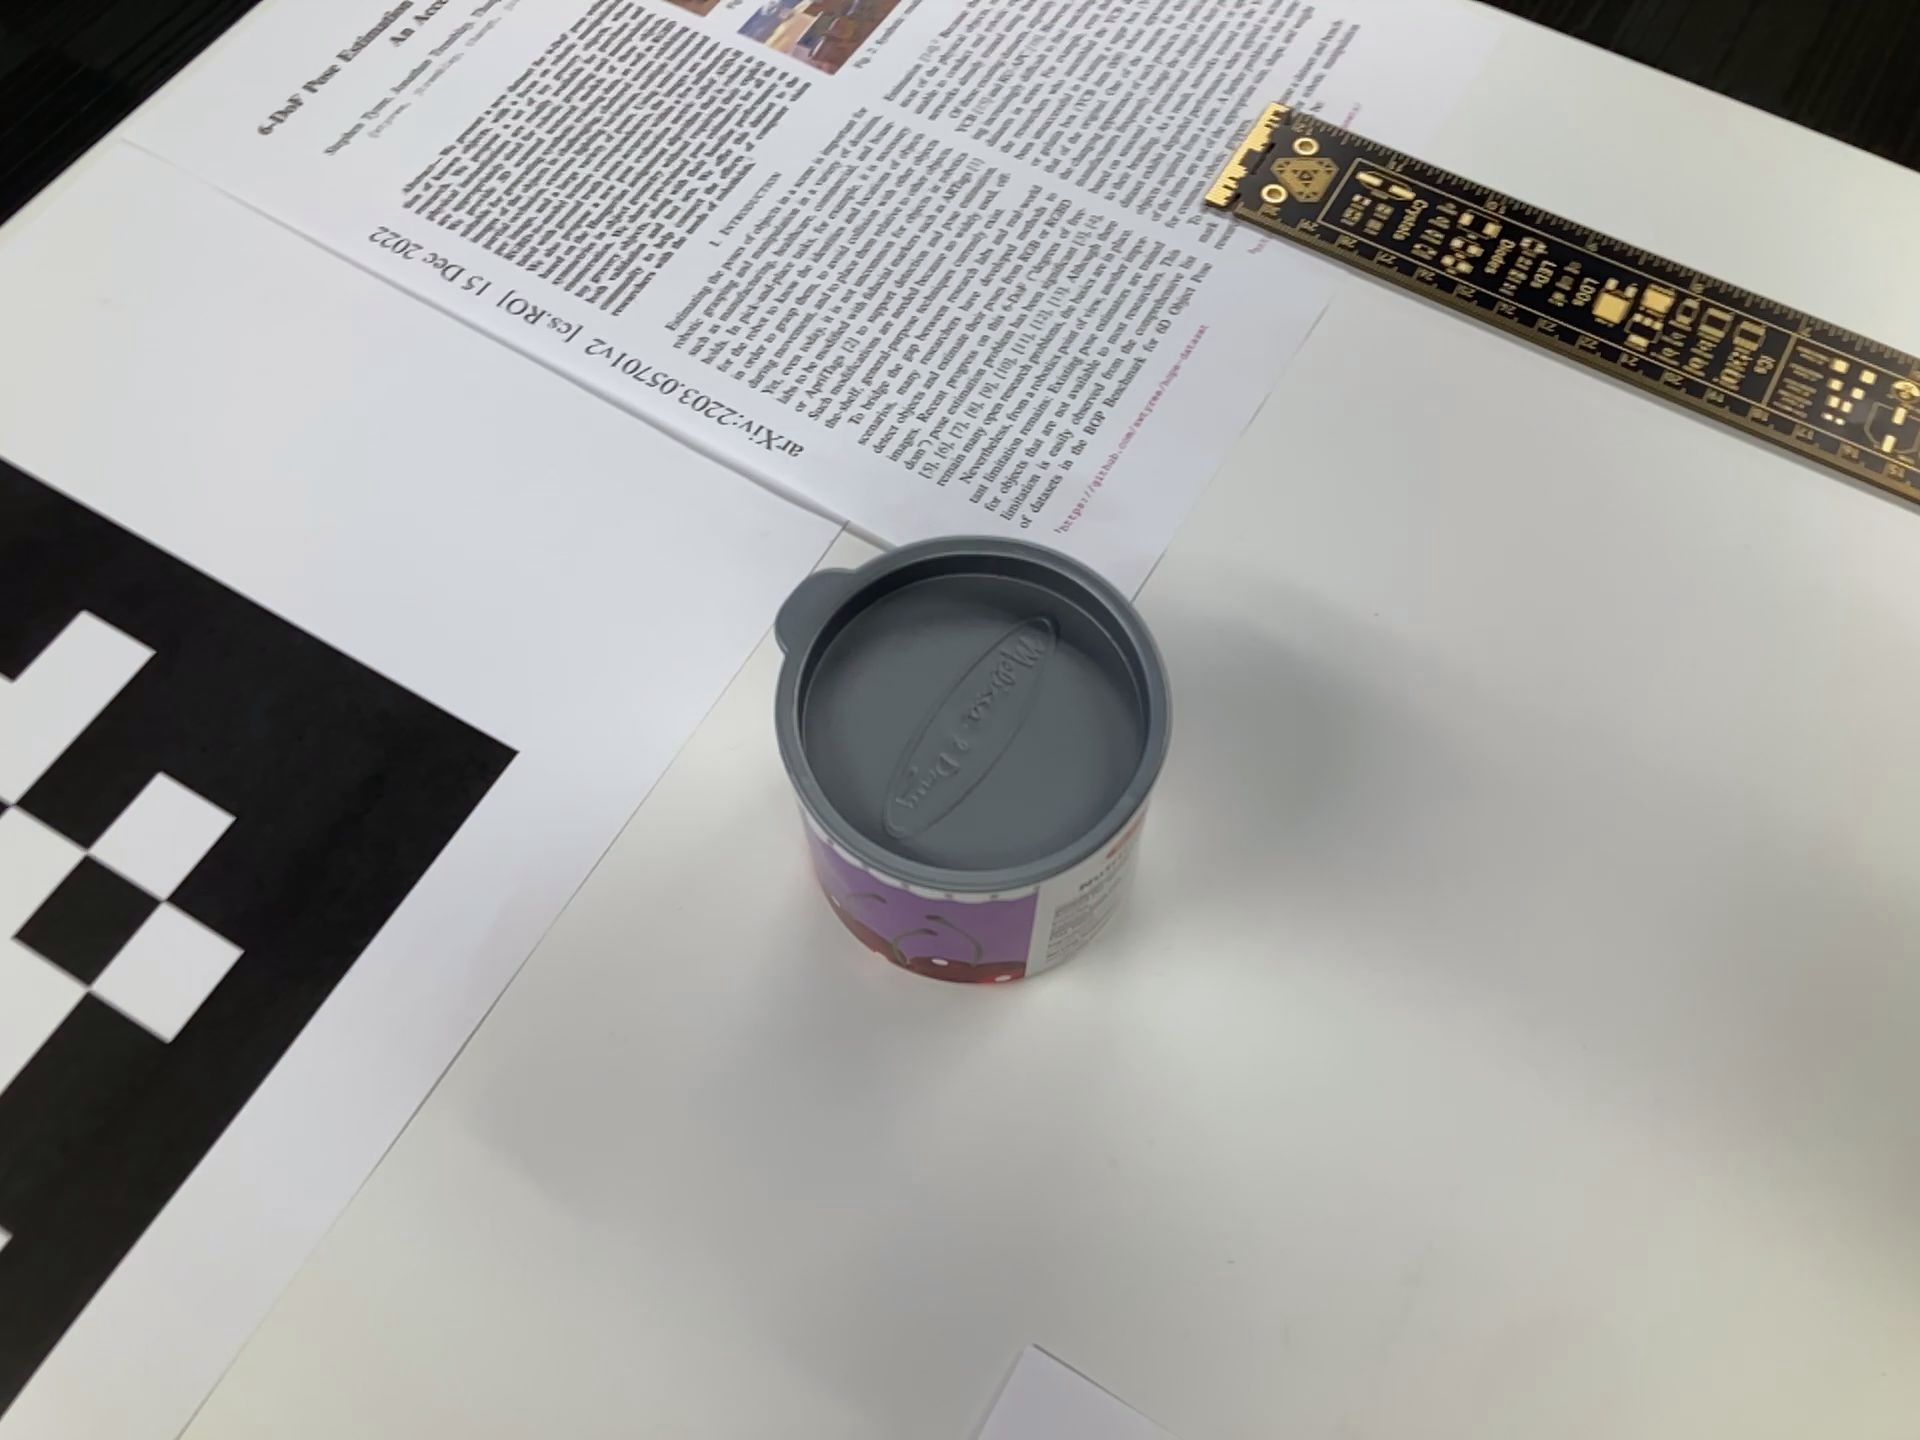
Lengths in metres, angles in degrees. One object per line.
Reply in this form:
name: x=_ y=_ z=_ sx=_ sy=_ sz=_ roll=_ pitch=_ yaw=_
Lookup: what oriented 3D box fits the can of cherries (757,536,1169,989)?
can of cherries: x=0.000 y=0.008 z=0.290 sx=0.071 sy=0.058 sz=0.071 roll=0 pitch=64 yaw=1
